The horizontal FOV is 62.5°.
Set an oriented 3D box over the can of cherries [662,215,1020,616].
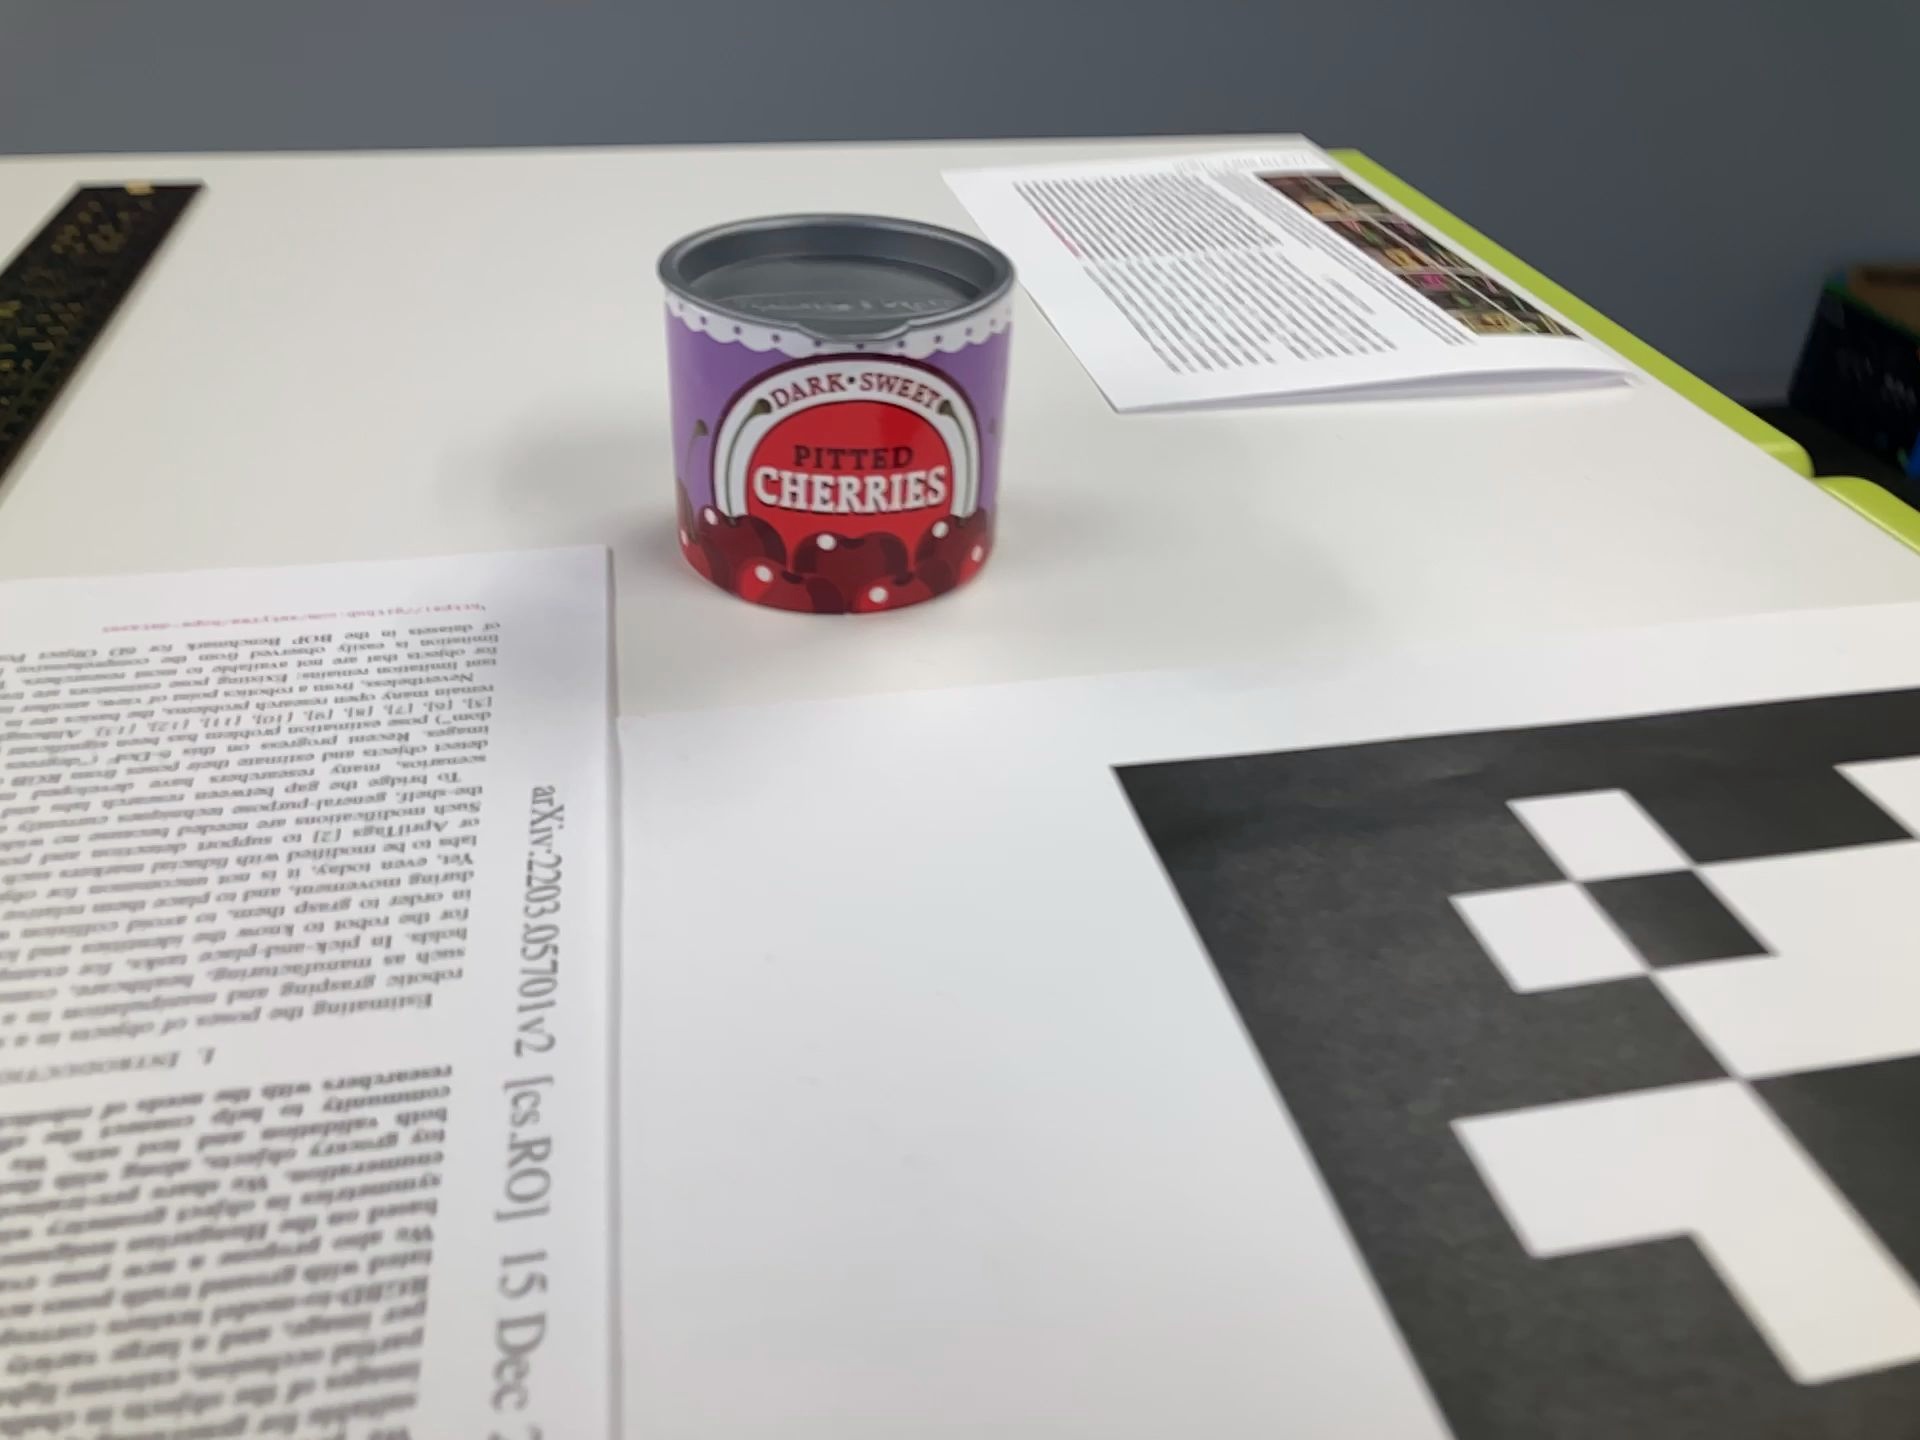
[{"bbox_3d":[-0.023,-0.060,0.308,0.071,0.058,0.071,2,33,-1],"label":"can of cherries"}]
